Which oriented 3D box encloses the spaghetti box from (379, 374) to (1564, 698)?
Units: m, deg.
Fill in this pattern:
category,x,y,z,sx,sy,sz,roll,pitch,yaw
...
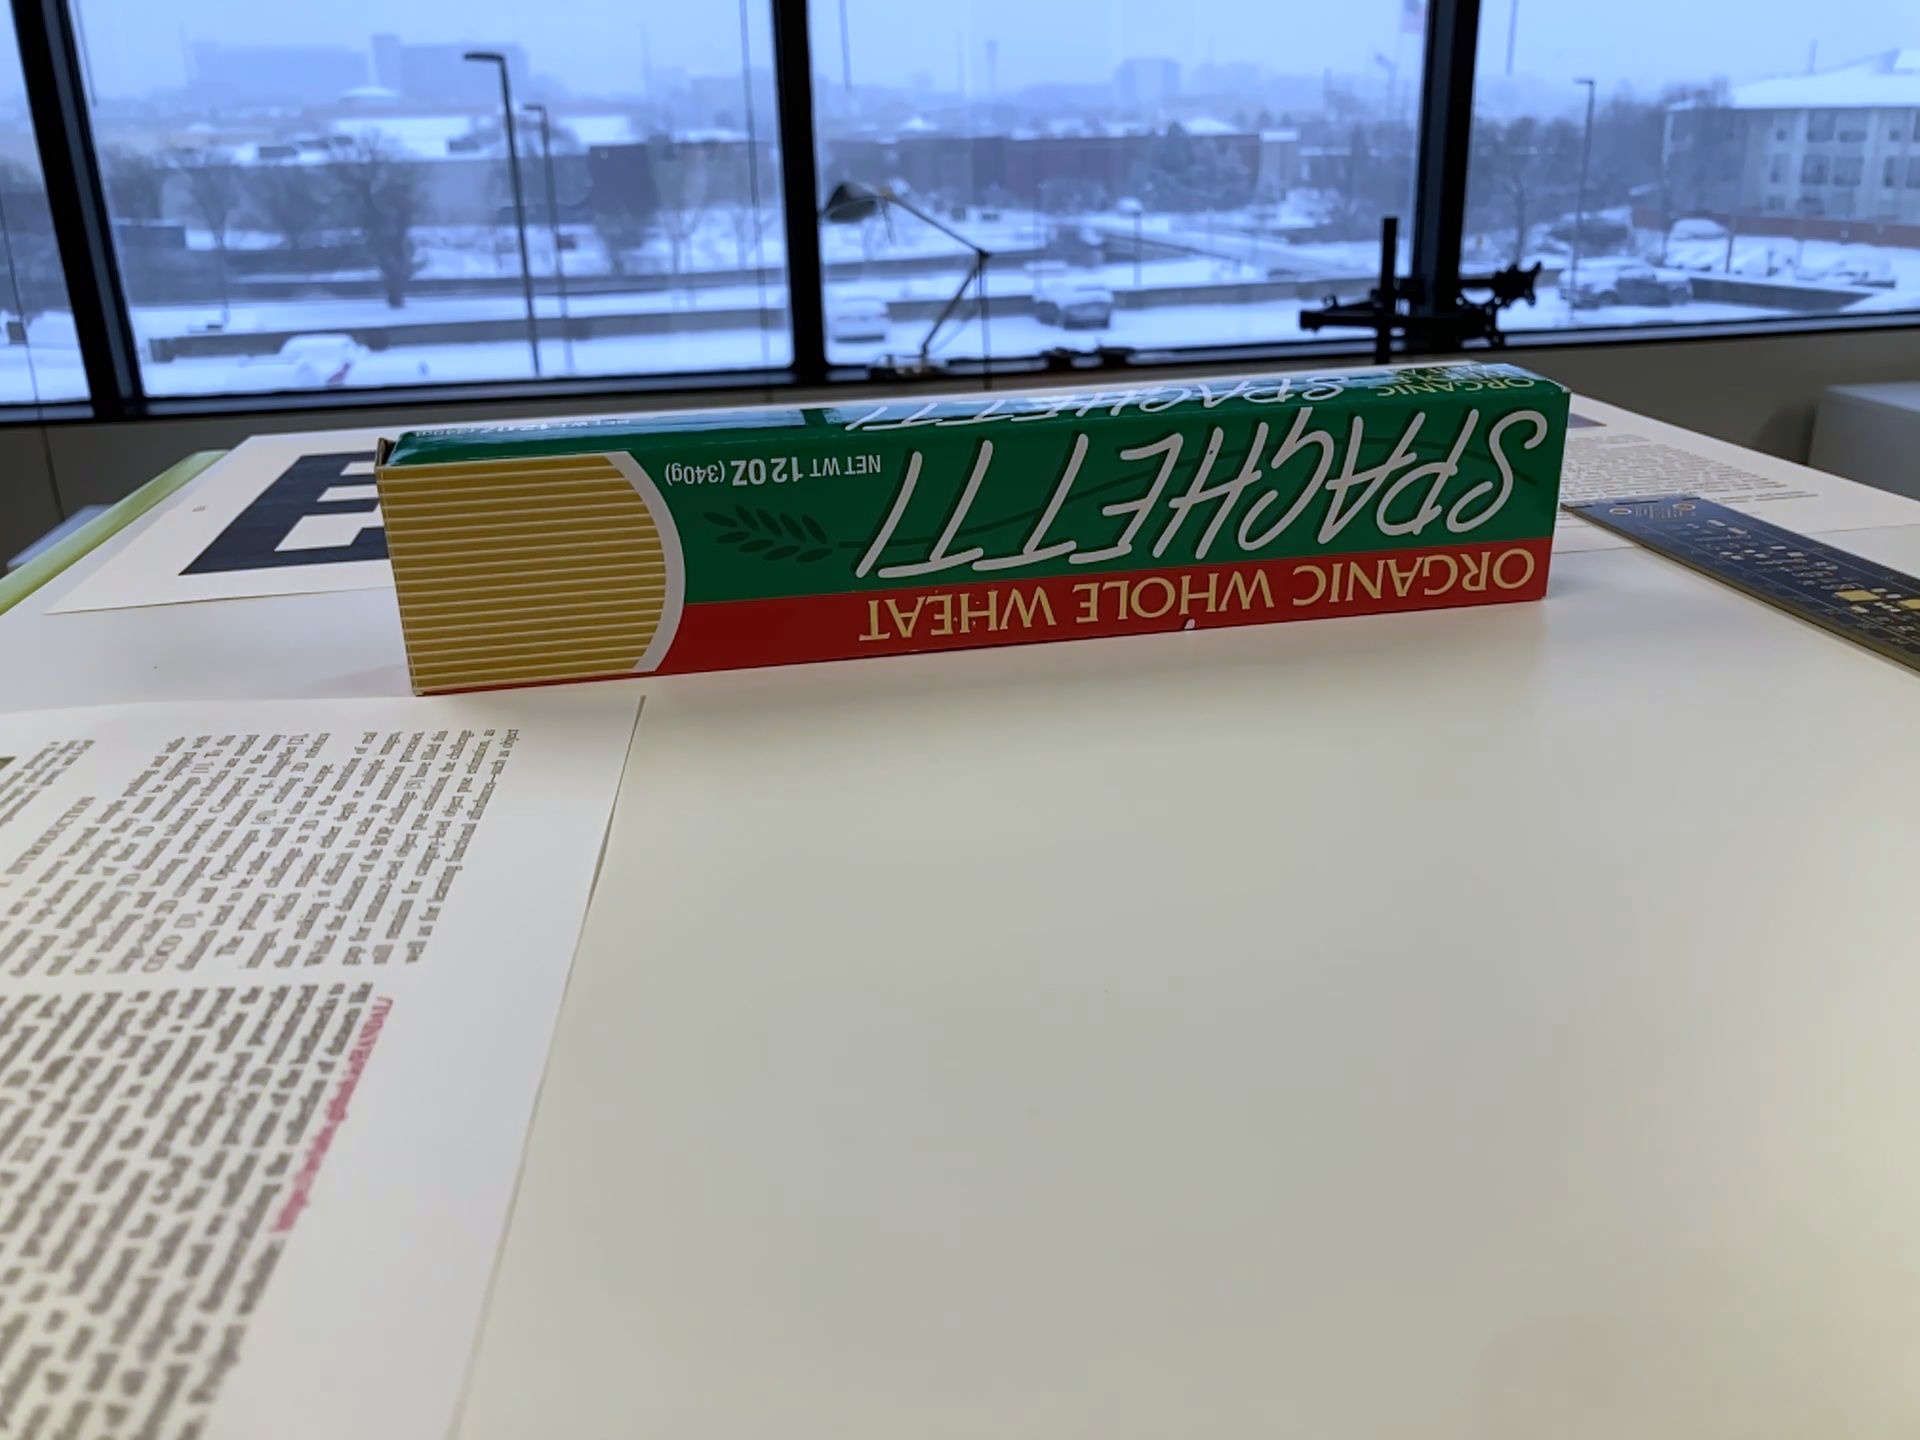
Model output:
category,x,y,z,sx,sy,sz,roll,pitch,yaw
spaghetti box,0.008,-0.042,0.343,0.250,0.050,0.028,-5,24,-9
